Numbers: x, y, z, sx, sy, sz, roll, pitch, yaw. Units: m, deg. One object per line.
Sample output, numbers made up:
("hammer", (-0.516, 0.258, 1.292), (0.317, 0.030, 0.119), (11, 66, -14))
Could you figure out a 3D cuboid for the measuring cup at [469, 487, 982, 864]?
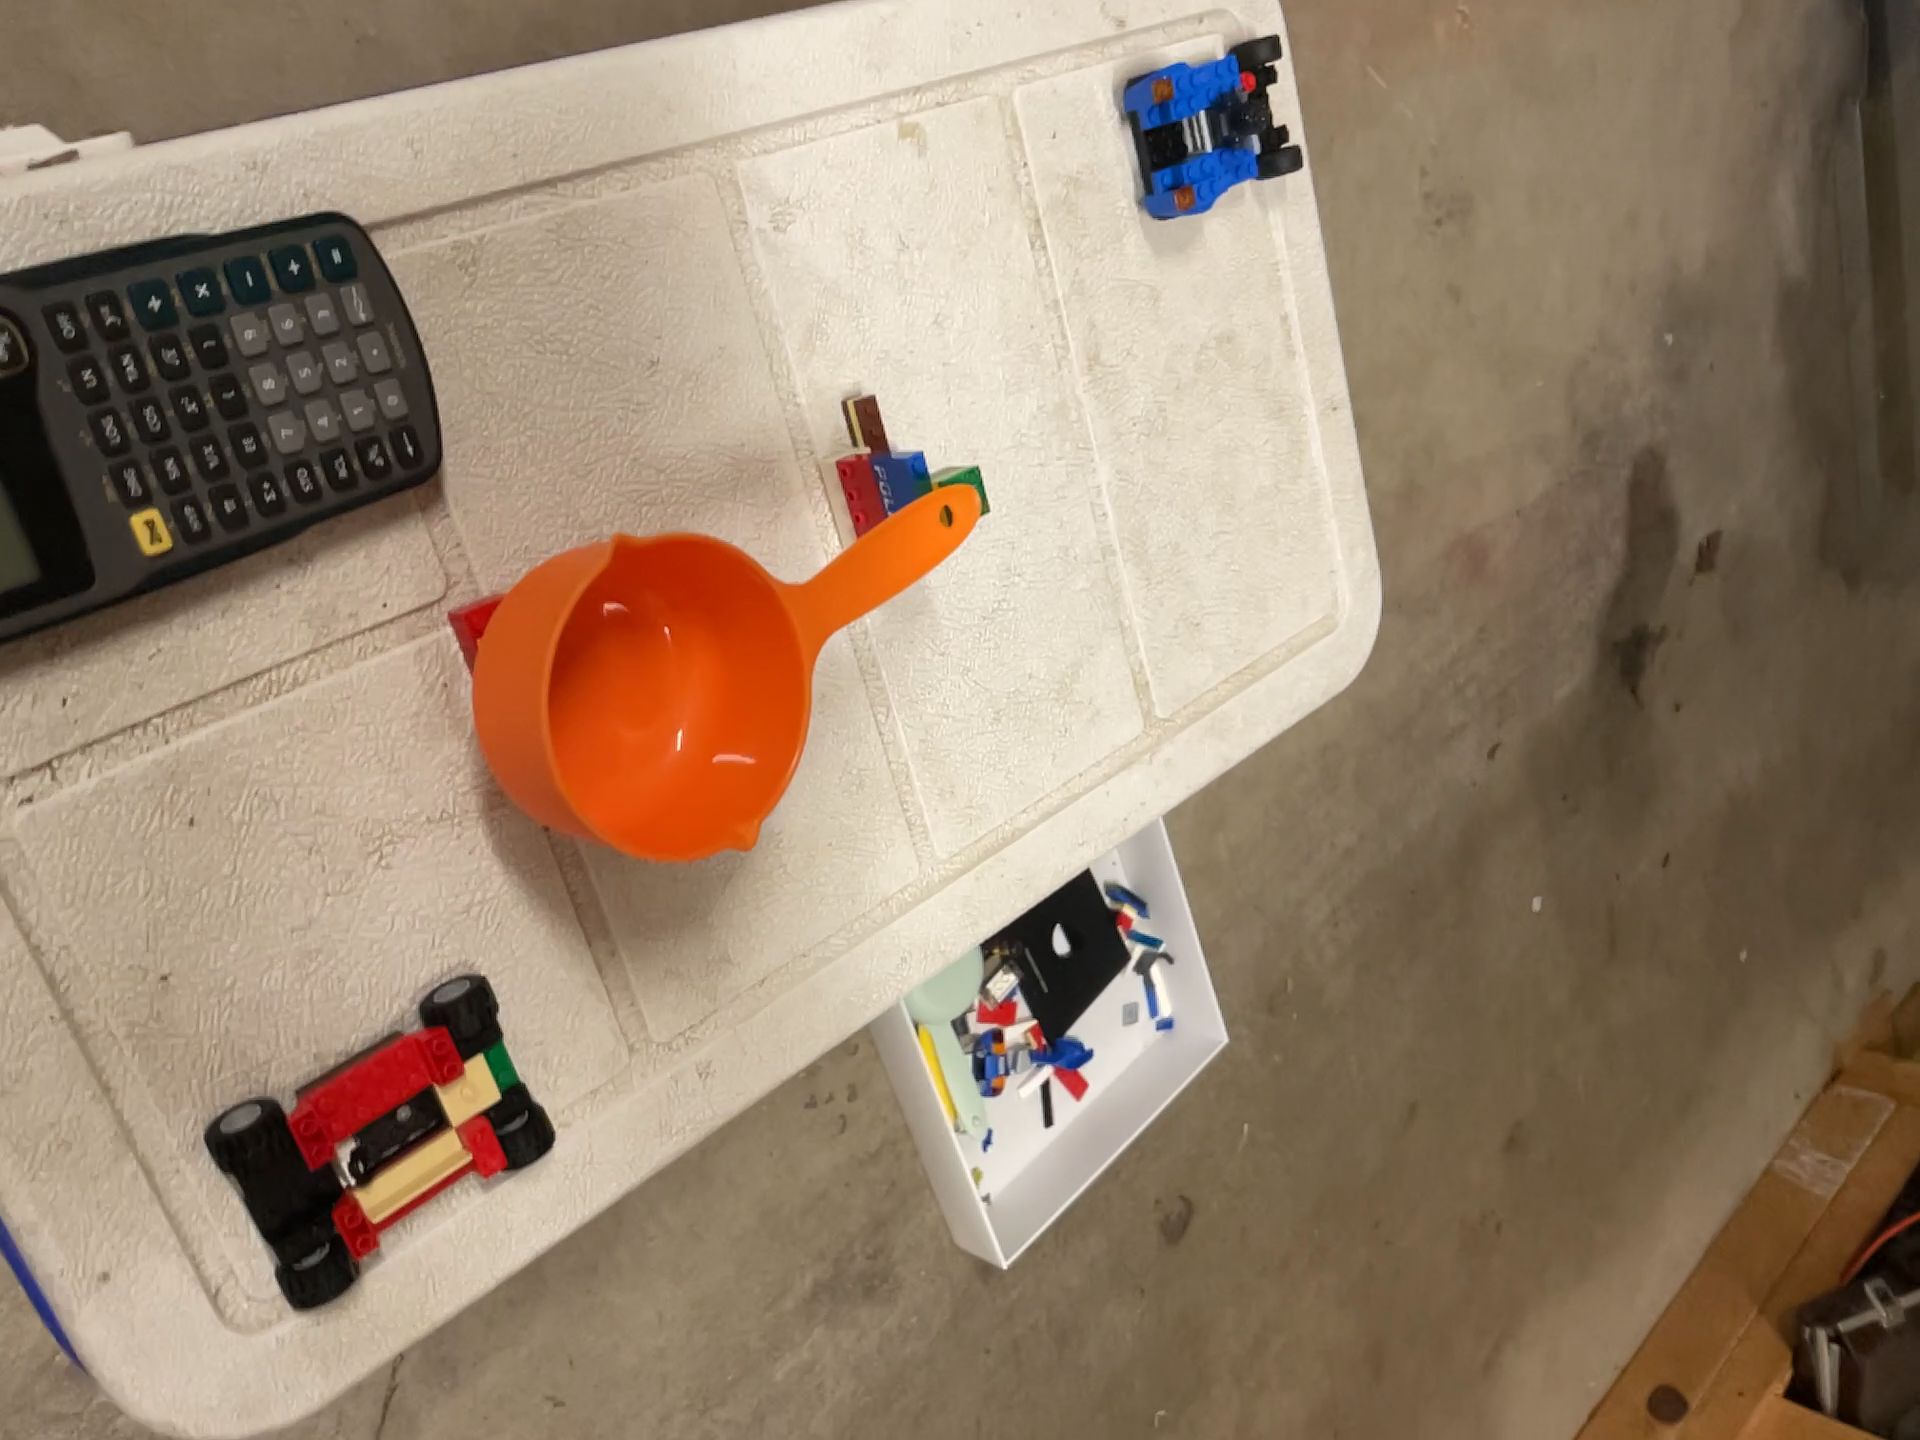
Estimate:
("measuring cup", (-0.064, -0.028, 0.464), (0.174, 0.052, 0.095), (-39, 120, -38))
